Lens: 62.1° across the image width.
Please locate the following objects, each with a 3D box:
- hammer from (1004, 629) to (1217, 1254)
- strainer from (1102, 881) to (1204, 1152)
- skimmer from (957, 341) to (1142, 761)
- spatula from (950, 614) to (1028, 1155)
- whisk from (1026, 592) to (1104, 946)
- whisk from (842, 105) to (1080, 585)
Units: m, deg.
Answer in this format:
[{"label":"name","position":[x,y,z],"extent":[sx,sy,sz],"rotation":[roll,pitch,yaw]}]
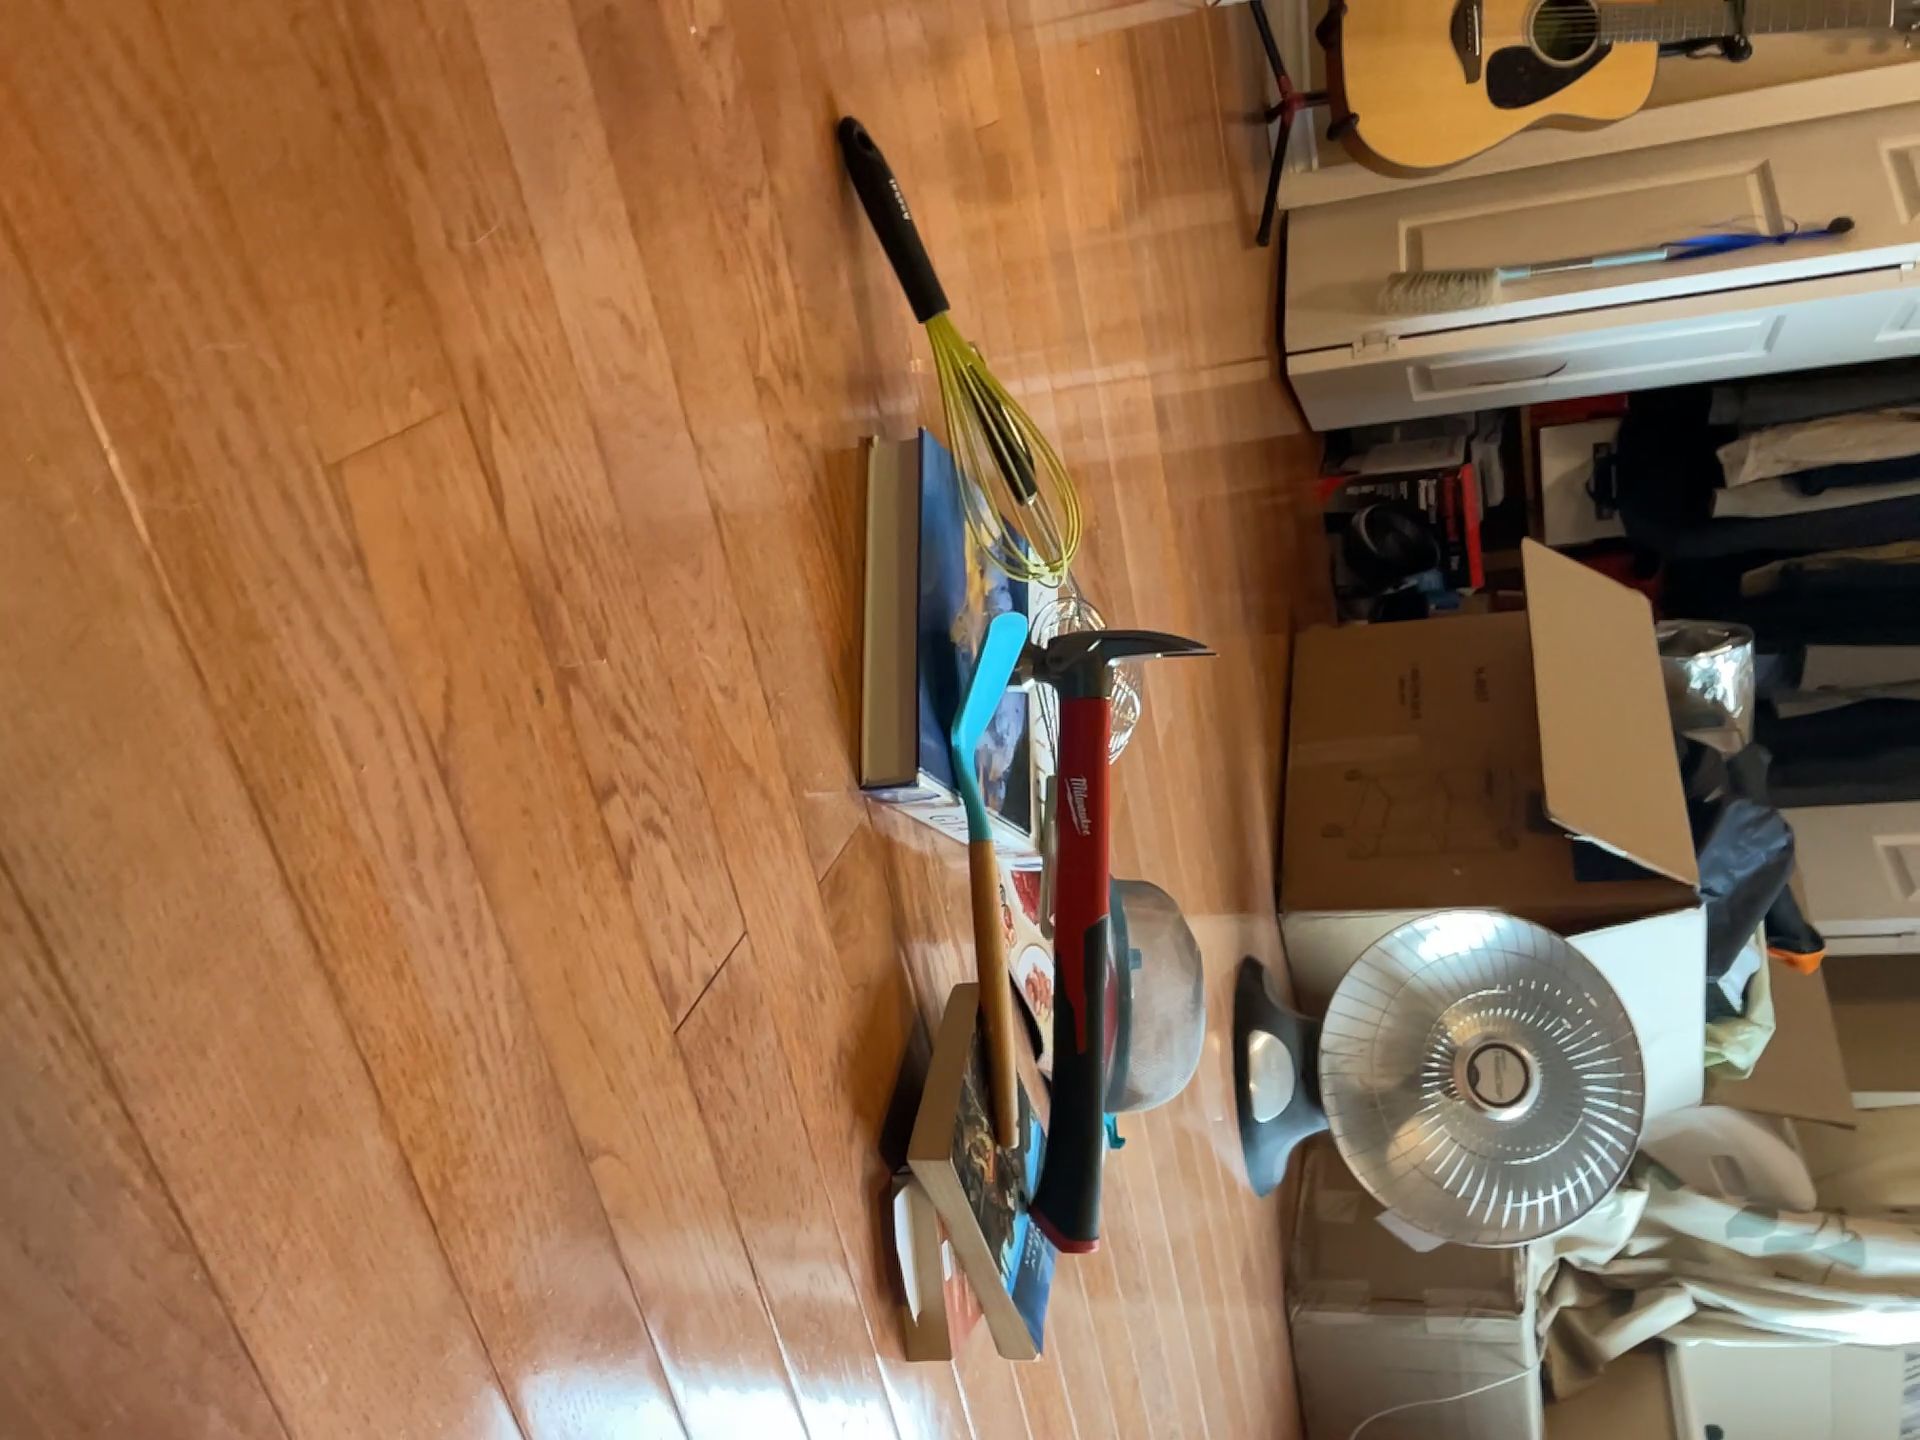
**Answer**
[{"label":"hammer","position":[0.089,0.135,1.003],"extent":[0.038,0.143,0.386],"rotation":[21,69,-66]},{"label":"strainer","position":[0.139,0.187,1.264],"extent":[0.340,0.095,0.211],"rotation":[75,21,-47]},{"label":"skimmer","position":[0.049,-0.111,1.201],"extent":[0.363,0.090,0.128],"rotation":[61,31,-28]},{"label":"spatula","position":[0.023,0.098,0.940],"extent":[0.082,0.044,0.317],"rotation":[-5,91,-73]},{"label":"whisk","position":[0.070,0.033,1.103],"extent":[0.059,0.058,0.246],"rotation":[155,-62,-77]},{"label":"whisk","position":[-0.006,-0.224,0.975],"extent":[0.080,0.067,0.311],"rotation":[-38,108,-50]}]
